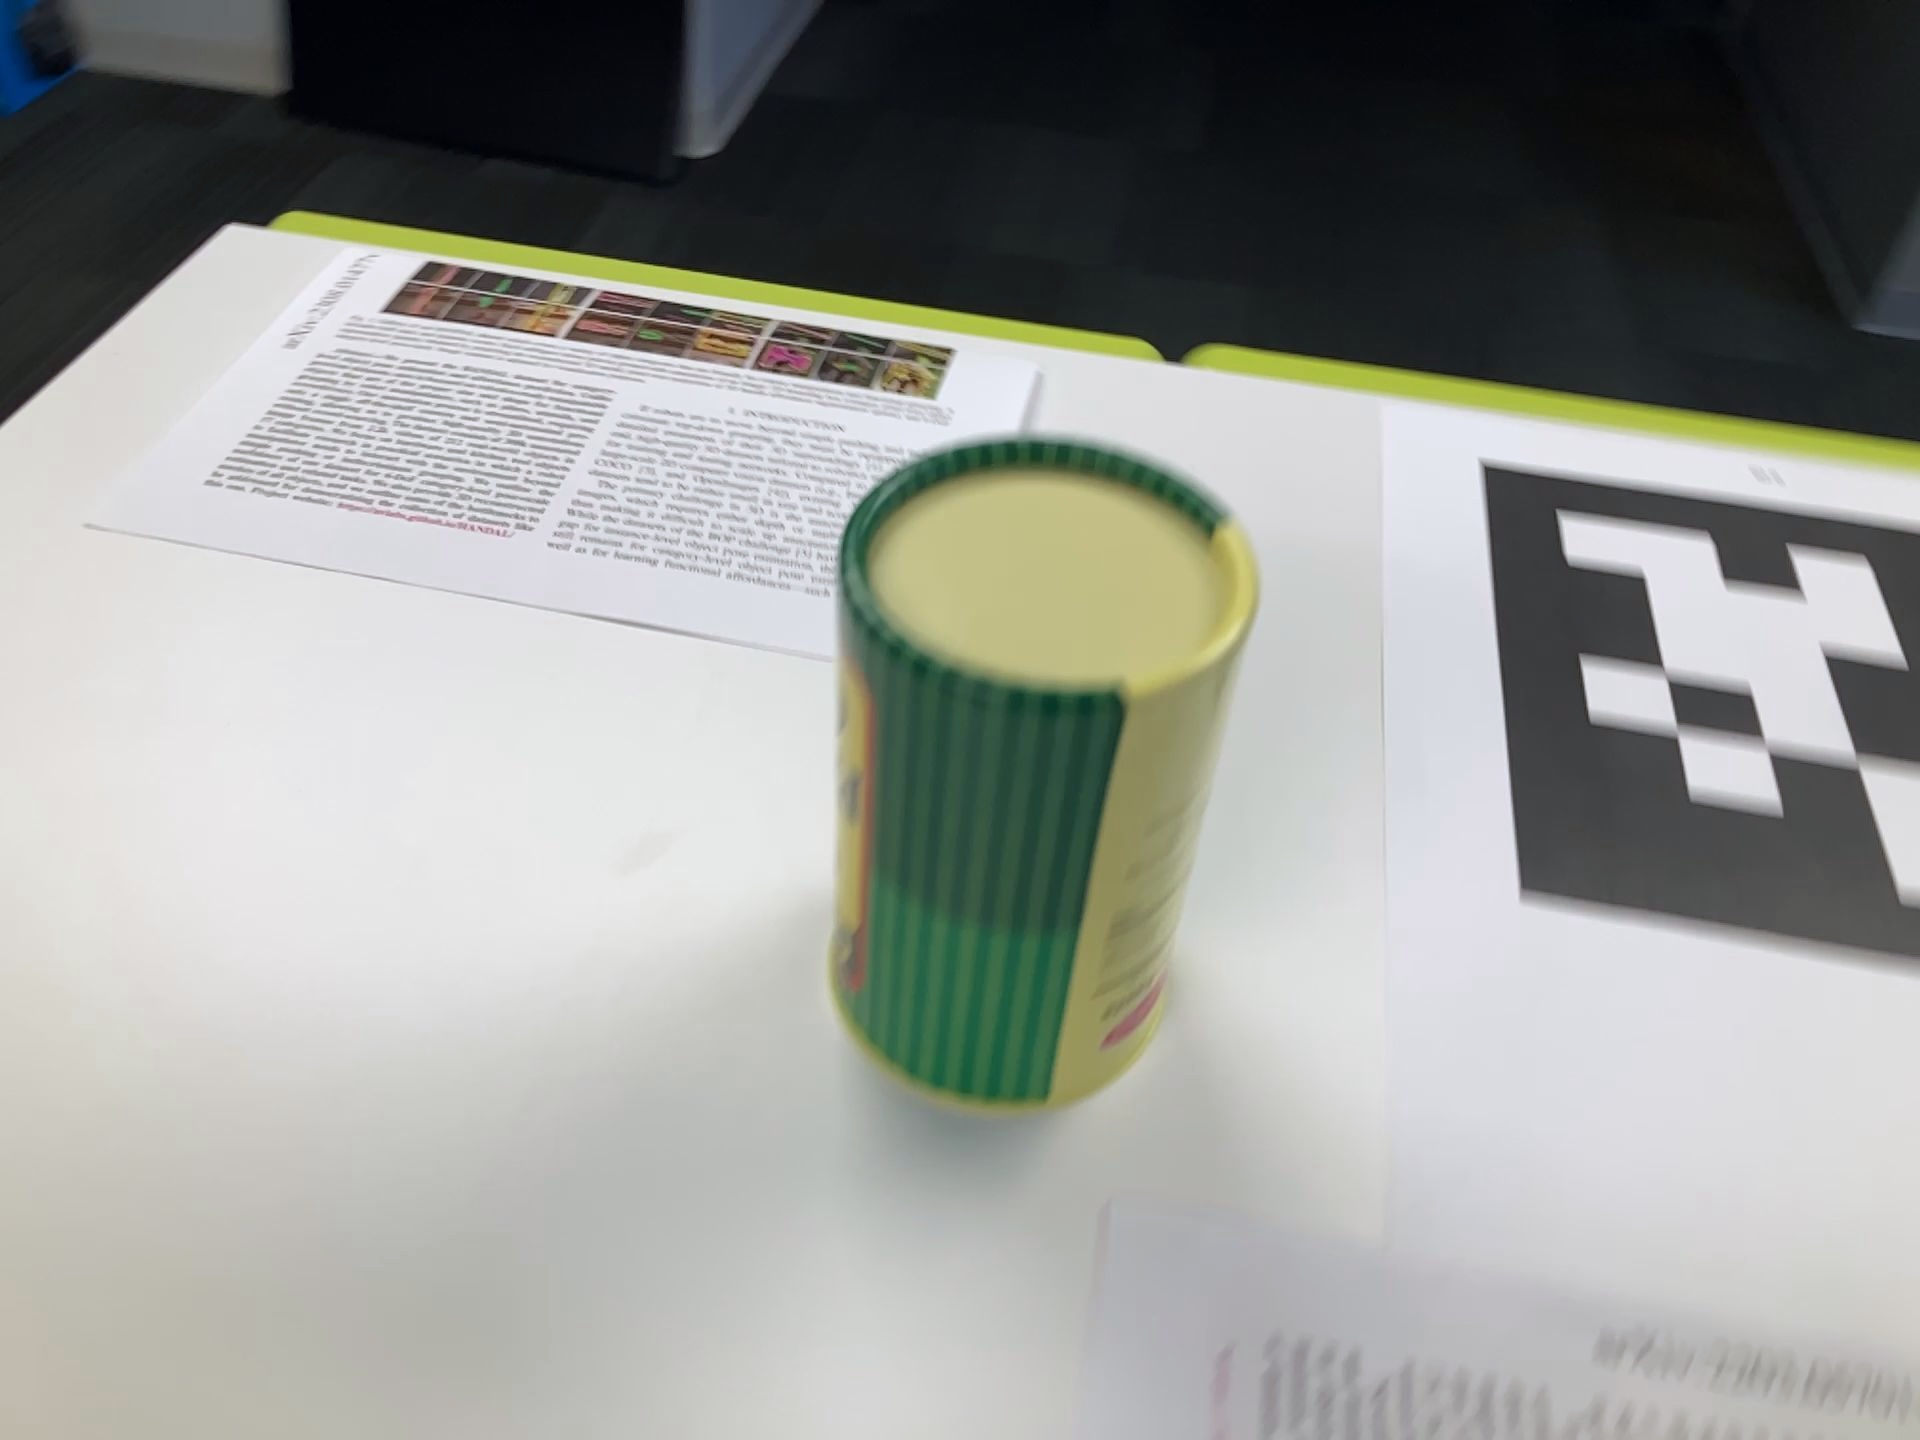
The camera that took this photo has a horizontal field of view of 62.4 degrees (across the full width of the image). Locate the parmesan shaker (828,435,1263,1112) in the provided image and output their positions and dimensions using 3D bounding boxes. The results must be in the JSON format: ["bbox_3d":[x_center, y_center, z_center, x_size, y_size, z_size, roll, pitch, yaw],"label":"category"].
[{"bbox_3d":[0.011,0.009,0.276,0.071,0.103,0.071,2,43,-2],"label":"parmesan shaker"}]
